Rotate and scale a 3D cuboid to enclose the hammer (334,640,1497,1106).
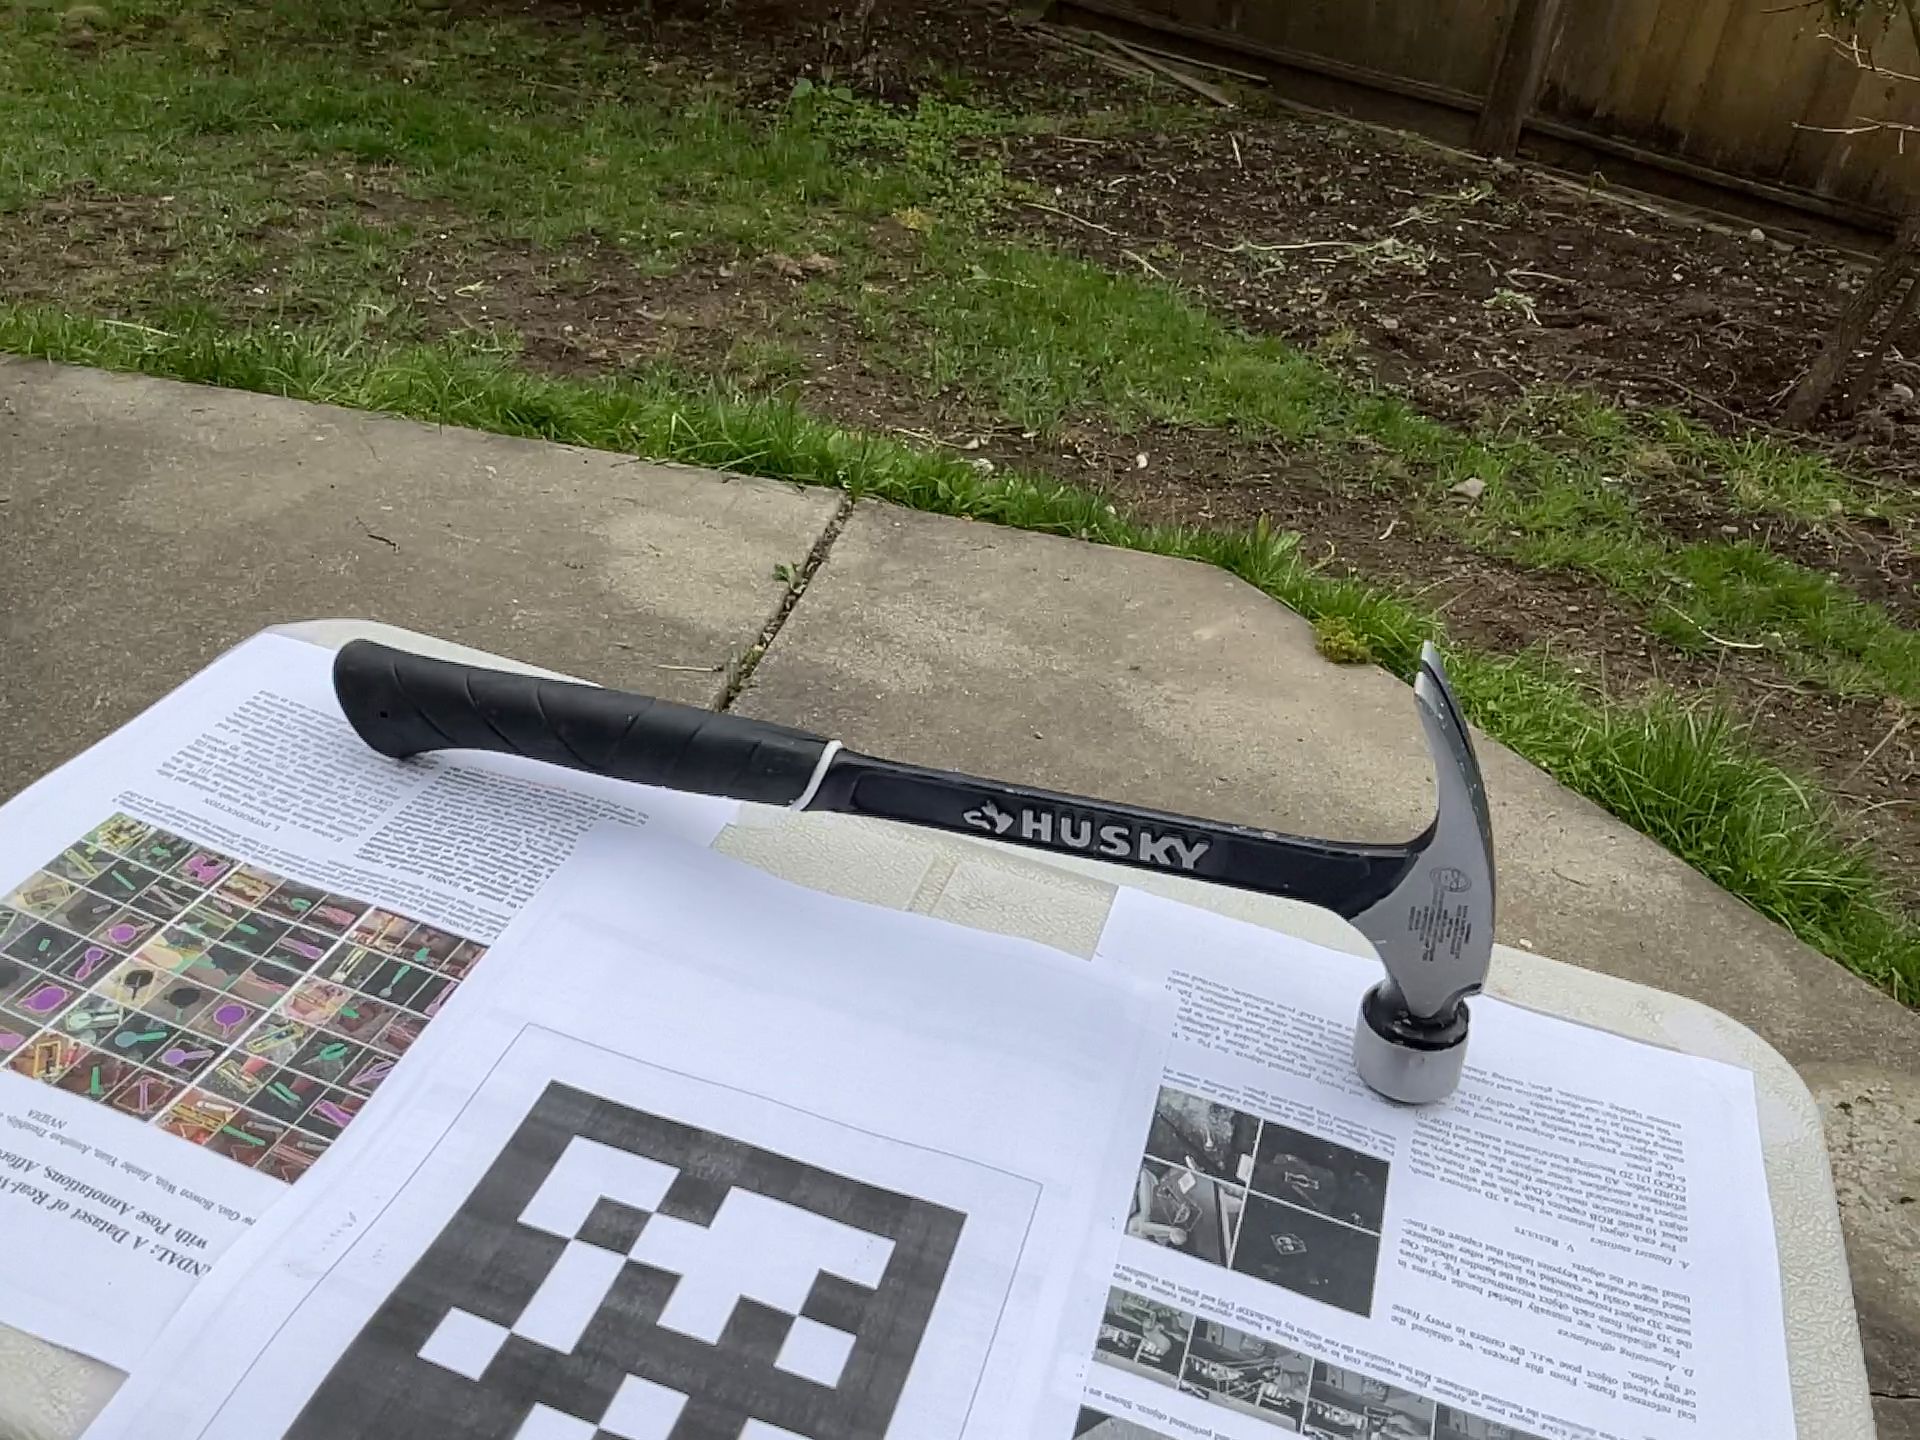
[{"bbox_3d":[-0.031,0.020,0.531,0.409,0.149,0.036,10,33,16],"label":"hammer"}]
